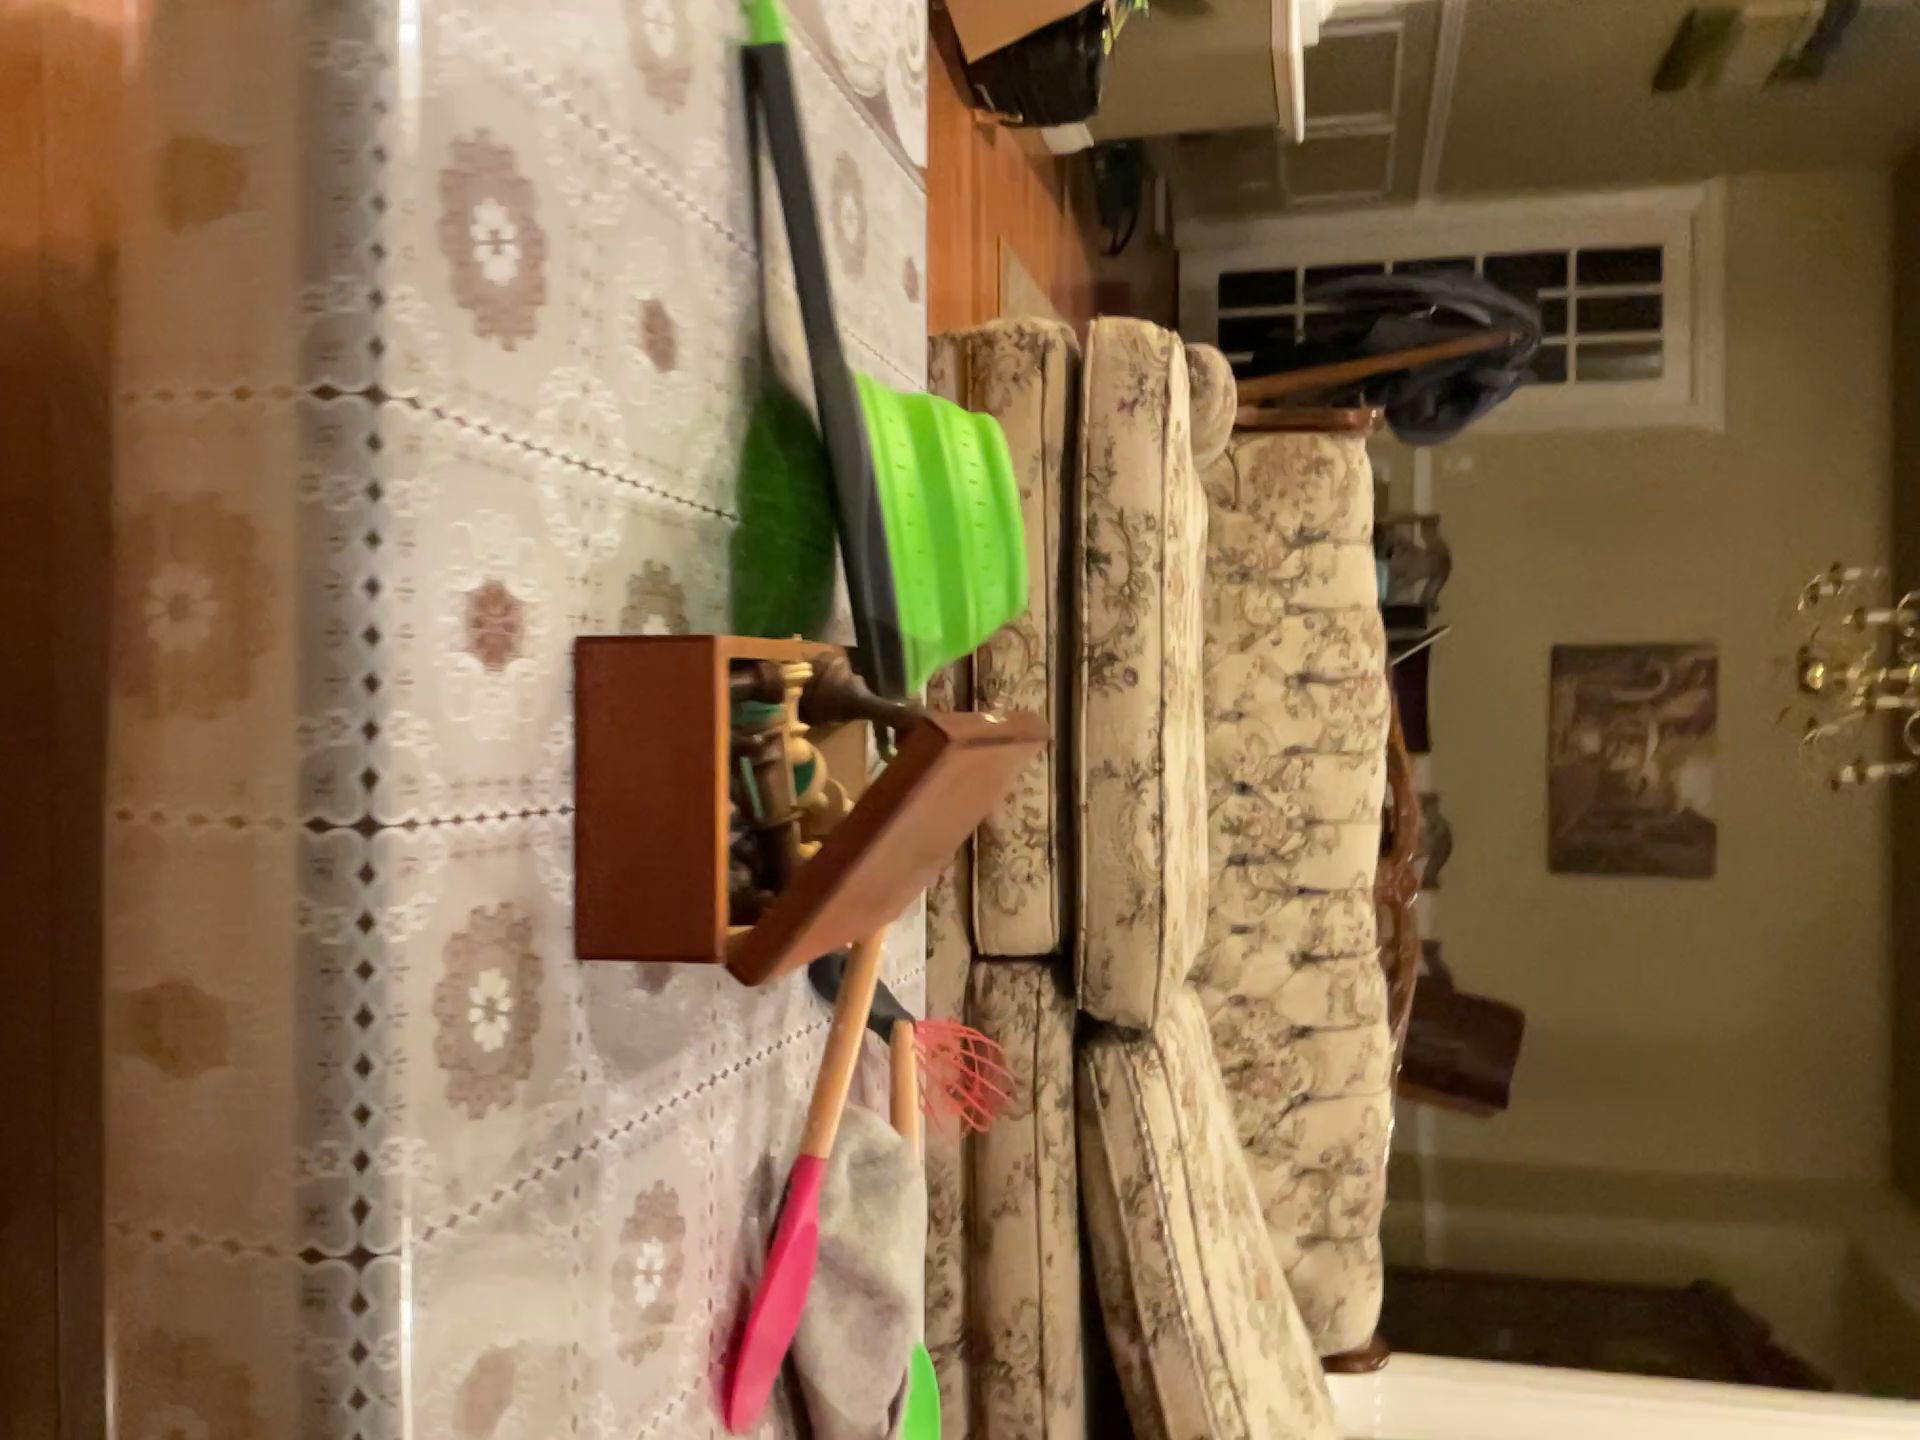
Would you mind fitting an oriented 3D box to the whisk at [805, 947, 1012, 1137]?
[{"bbox_3d":[-0.031,0.201,1.000,0.295,0.073,0.073,55,43,-55],"label":"whisk"}]

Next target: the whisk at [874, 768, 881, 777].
[{"bbox_3d":[-0.060,0.060,0.923,0.057,0.059,0.246,-51,-177,22],"label":"whisk"}]

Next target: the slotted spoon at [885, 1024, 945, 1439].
[{"bbox_3d":[-0.033,0.331,0.998,0.070,0.031,0.313,-54,144,-67],"label":"slotted spoon"}]

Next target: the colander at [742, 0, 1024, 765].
[{"bbox_3d":[-0.034,-0.180,0.818,0.204,0.094,0.397,-124,-156,-80],"label":"colander"}]

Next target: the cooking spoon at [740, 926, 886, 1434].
[{"bbox_3d":[-0.068,0.197,0.810,0.068,0.017,0.319,44,59,-73],"label":"cooking spoon"}]
